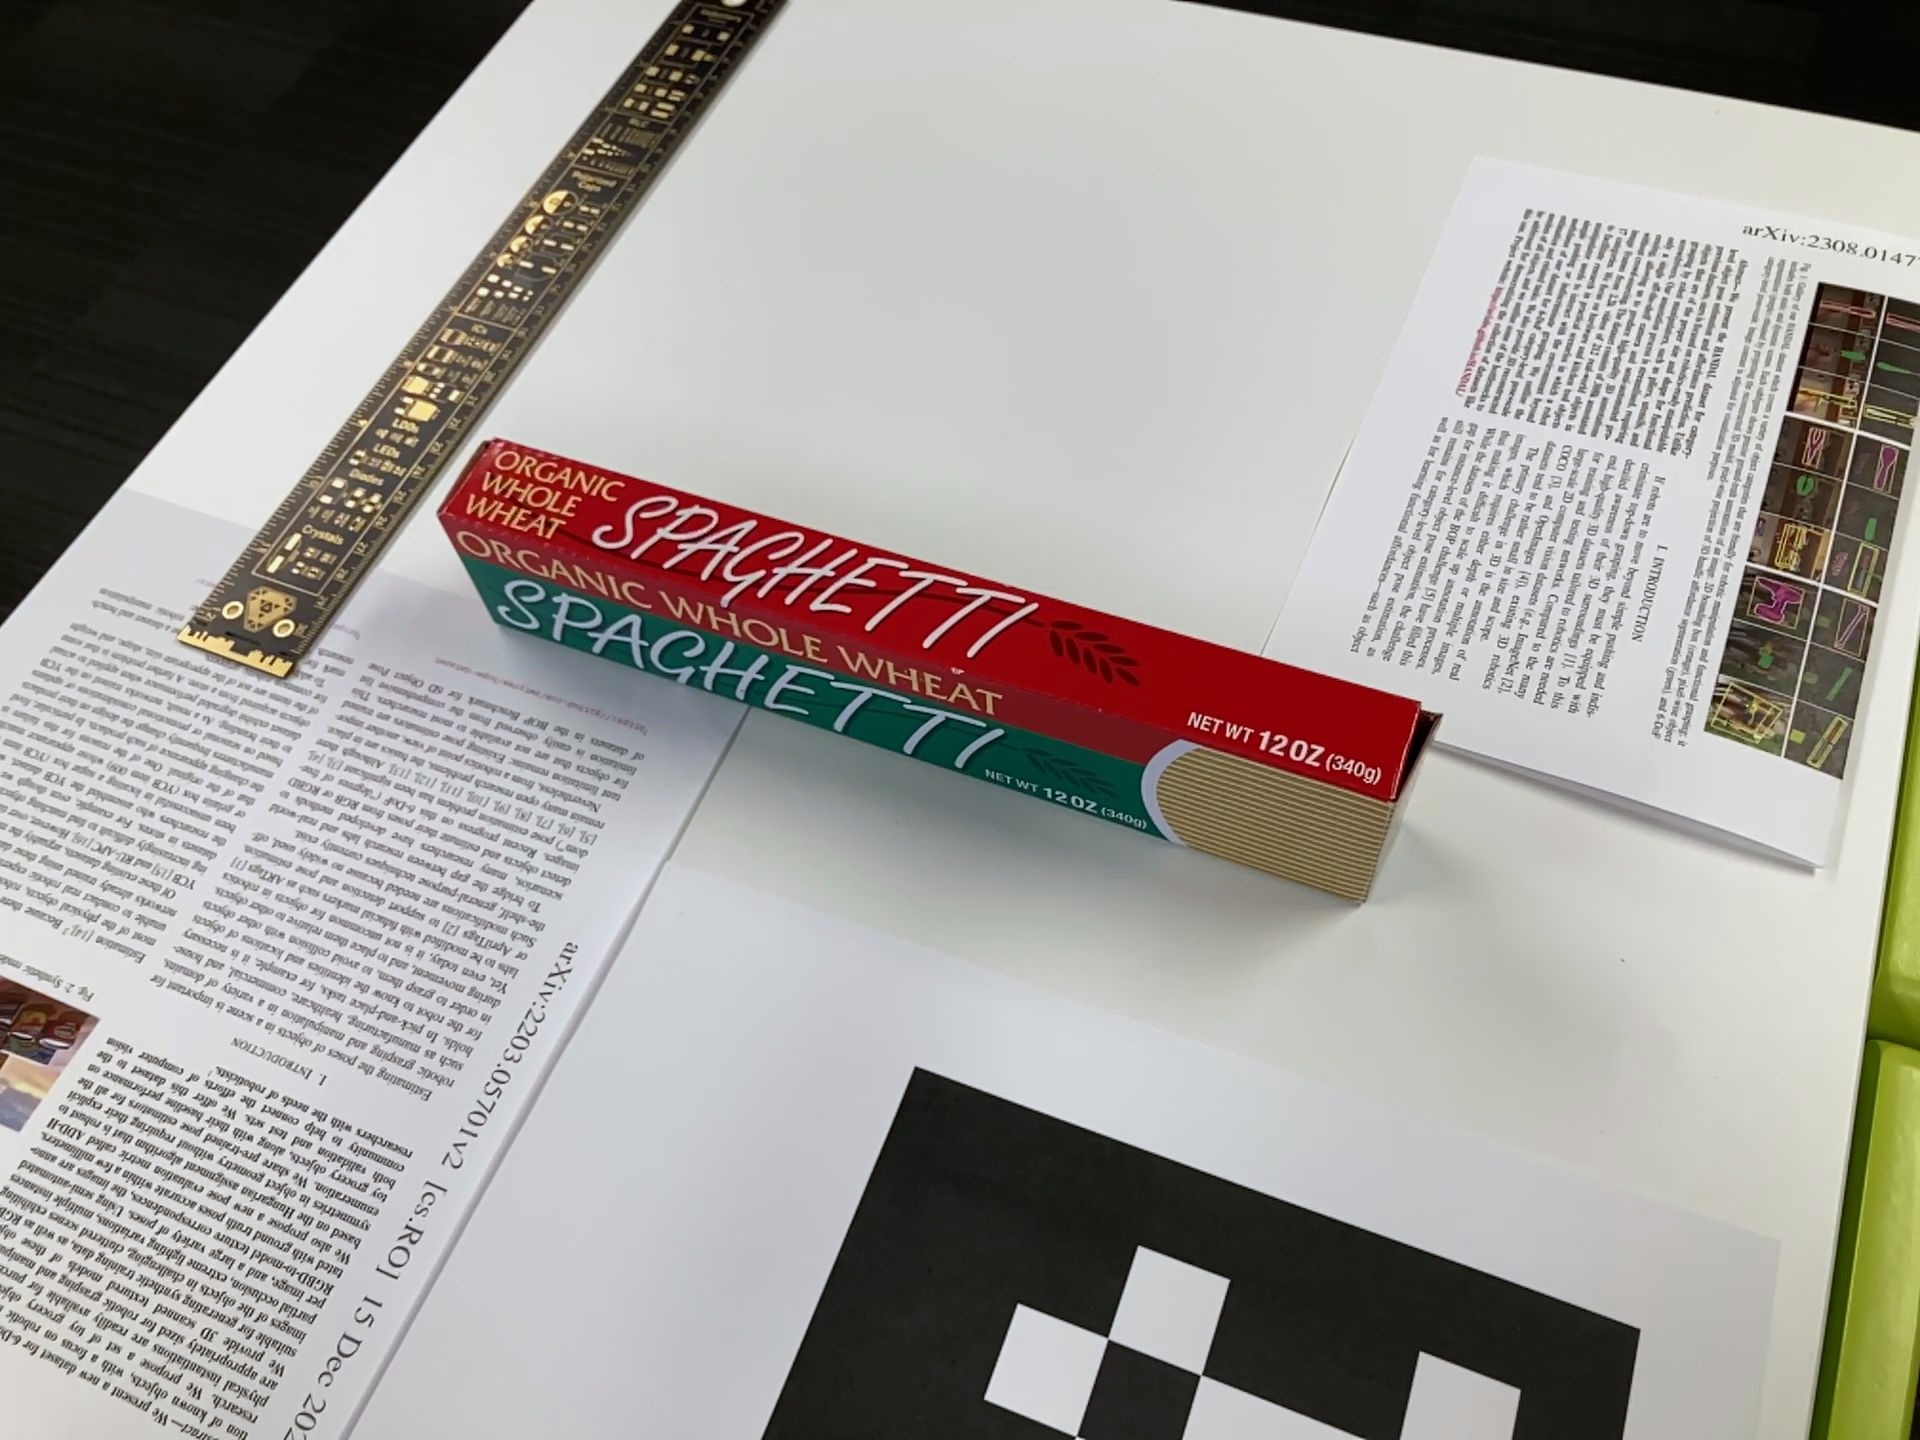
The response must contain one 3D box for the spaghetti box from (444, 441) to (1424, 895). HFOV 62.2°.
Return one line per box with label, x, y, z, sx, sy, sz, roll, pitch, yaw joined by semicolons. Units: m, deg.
spaghetti box;-0.015;-0.016;0.401;0.250;0.050;0.028;17;59;15
